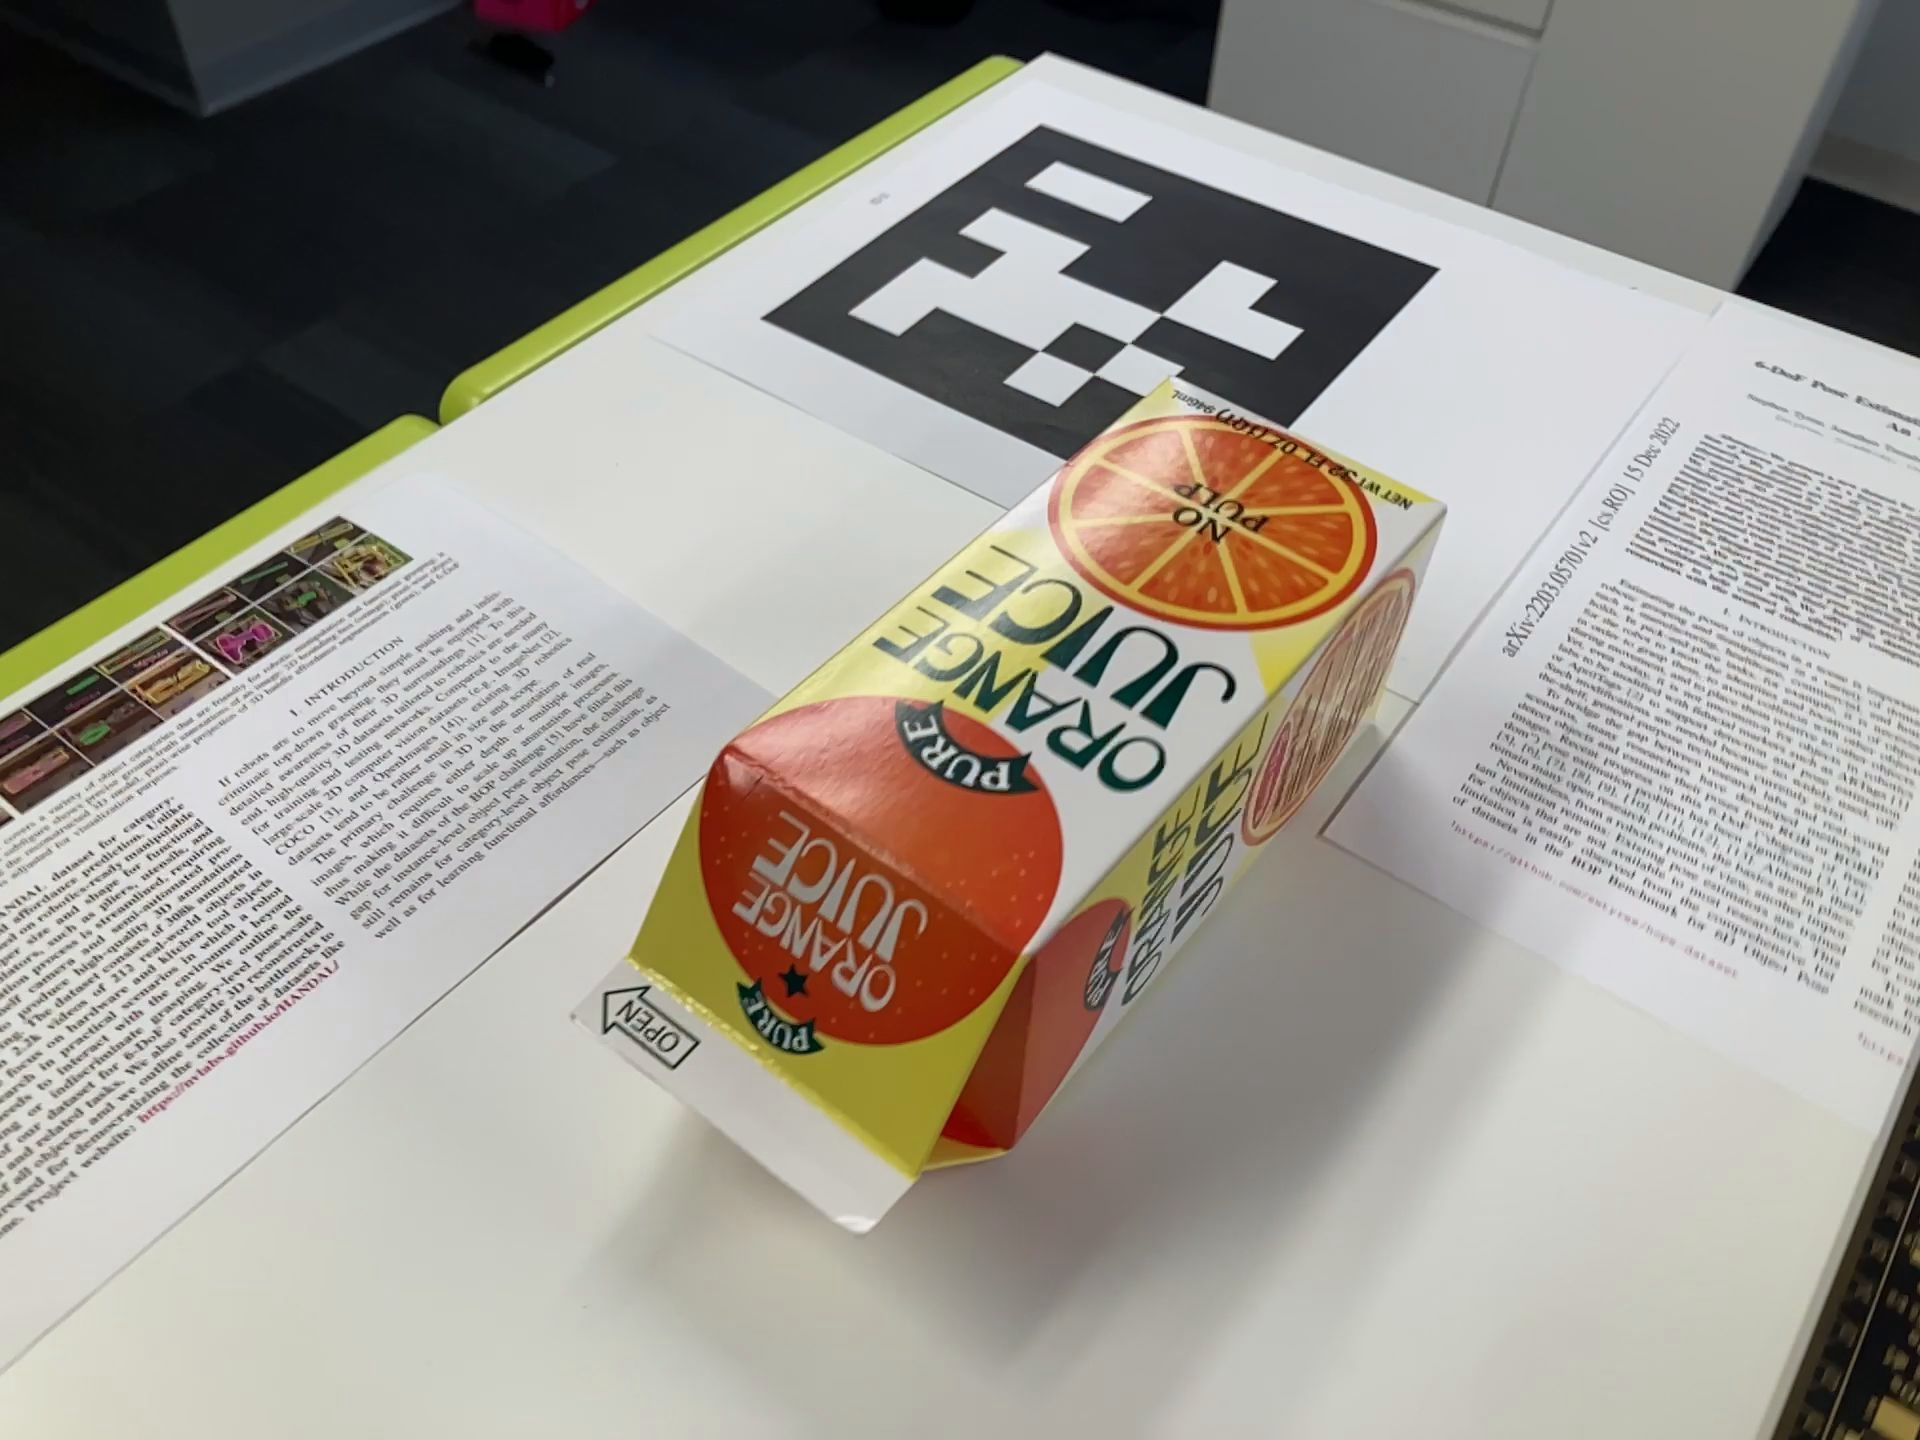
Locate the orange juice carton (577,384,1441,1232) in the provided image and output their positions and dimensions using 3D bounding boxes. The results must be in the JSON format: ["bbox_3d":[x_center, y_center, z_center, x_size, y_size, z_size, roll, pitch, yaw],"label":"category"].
[{"bbox_3d":[0.016,0.015,0.329,0.072,0.073,0.192,32,54,24],"label":"orange juice carton"}]
